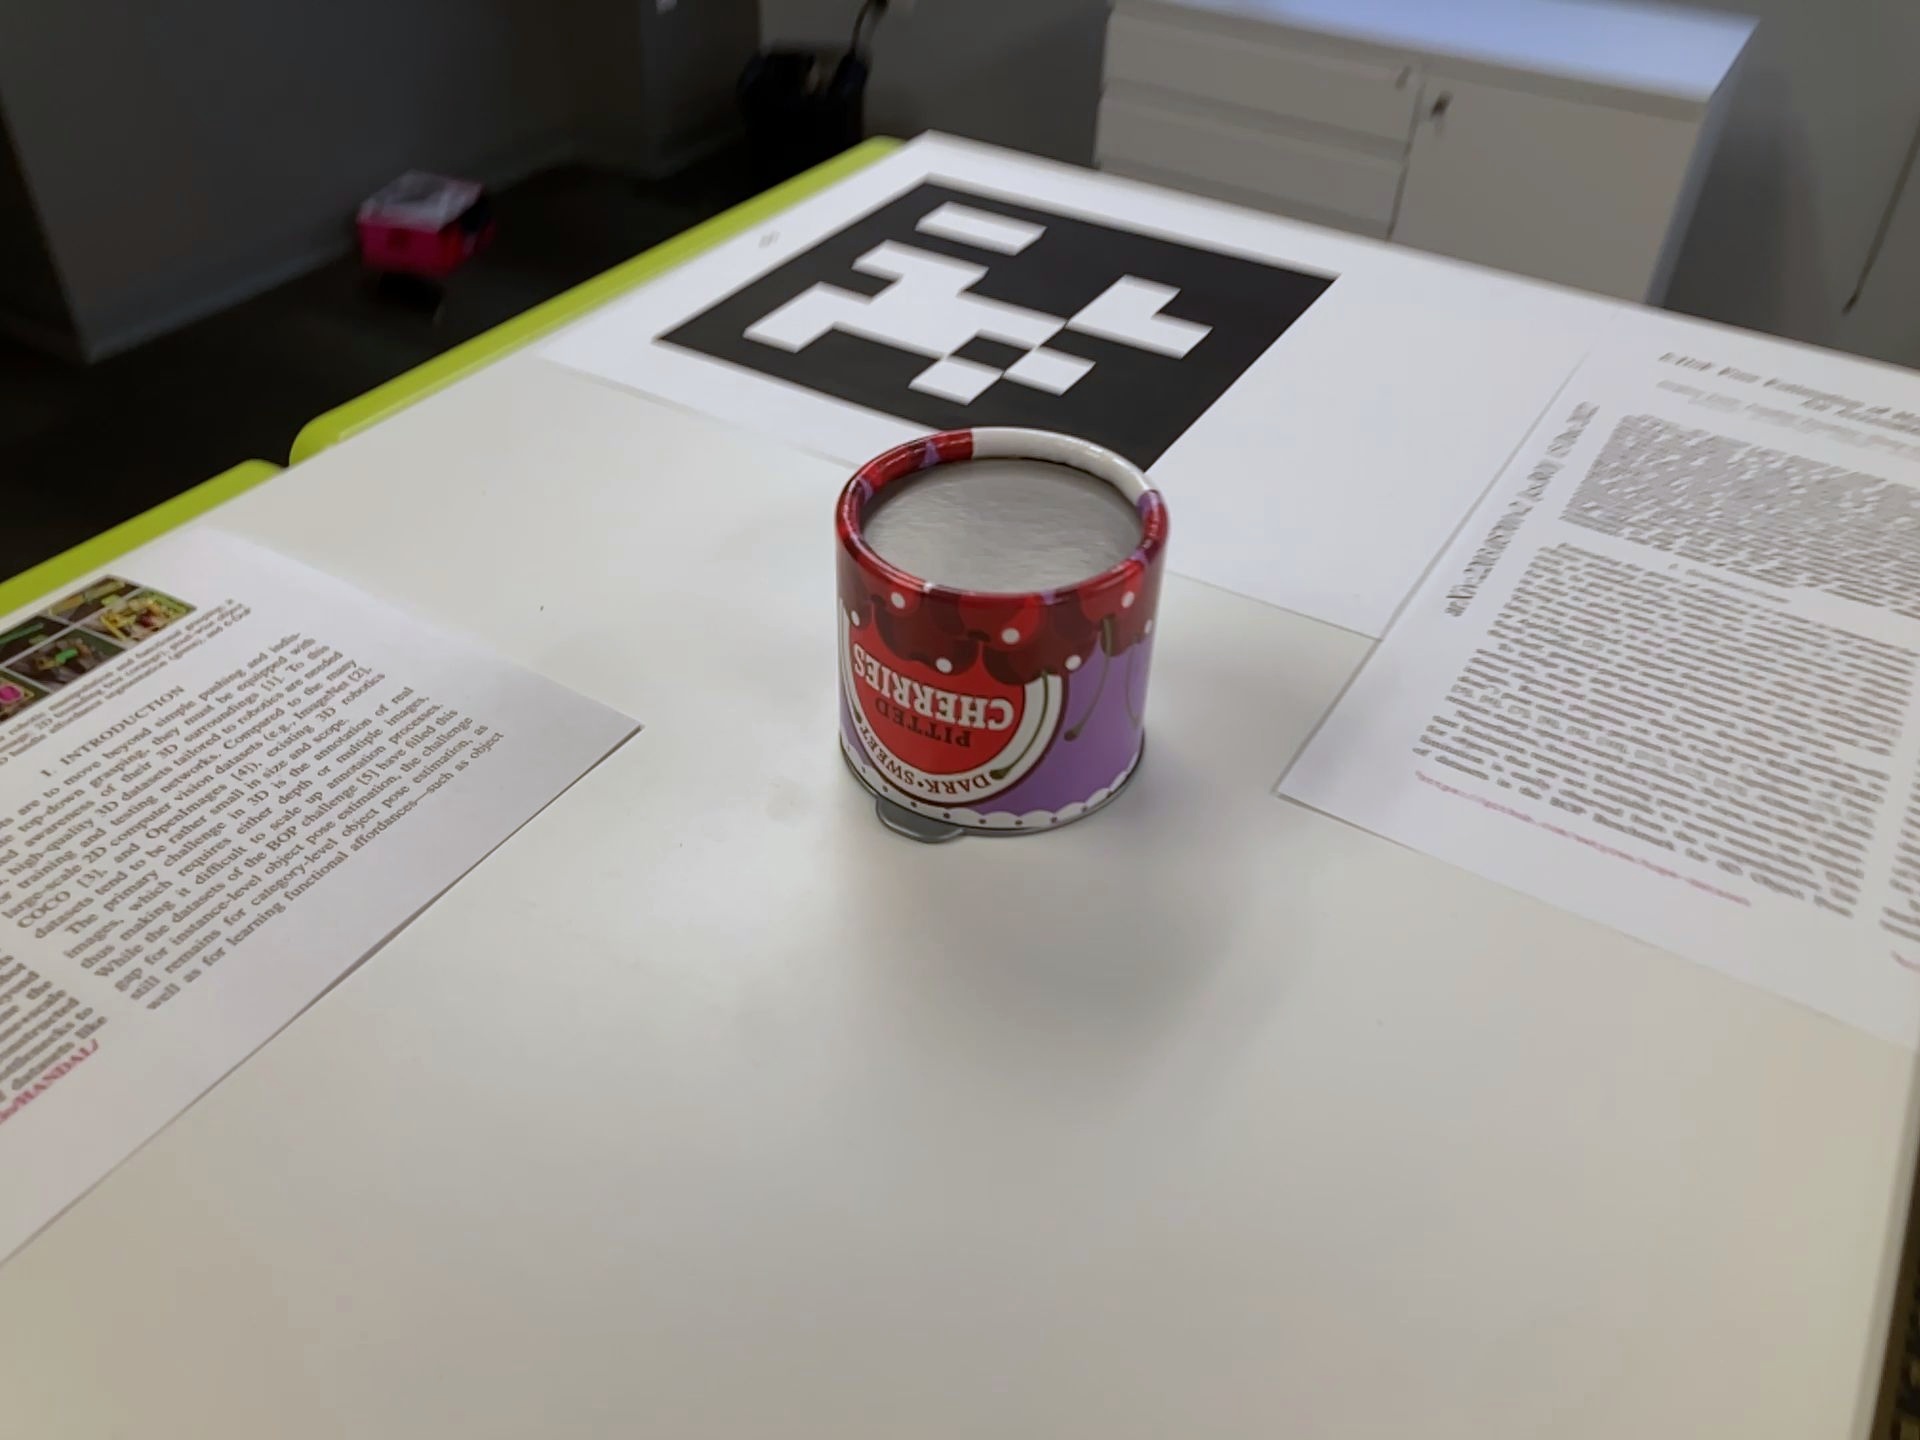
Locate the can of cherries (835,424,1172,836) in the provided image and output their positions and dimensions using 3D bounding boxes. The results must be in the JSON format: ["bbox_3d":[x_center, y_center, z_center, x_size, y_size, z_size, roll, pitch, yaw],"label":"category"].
[{"bbox_3d":[0.007,-0.018,0.321,0.071,0.058,0.071,1,40,-1],"label":"can of cherries"}]
